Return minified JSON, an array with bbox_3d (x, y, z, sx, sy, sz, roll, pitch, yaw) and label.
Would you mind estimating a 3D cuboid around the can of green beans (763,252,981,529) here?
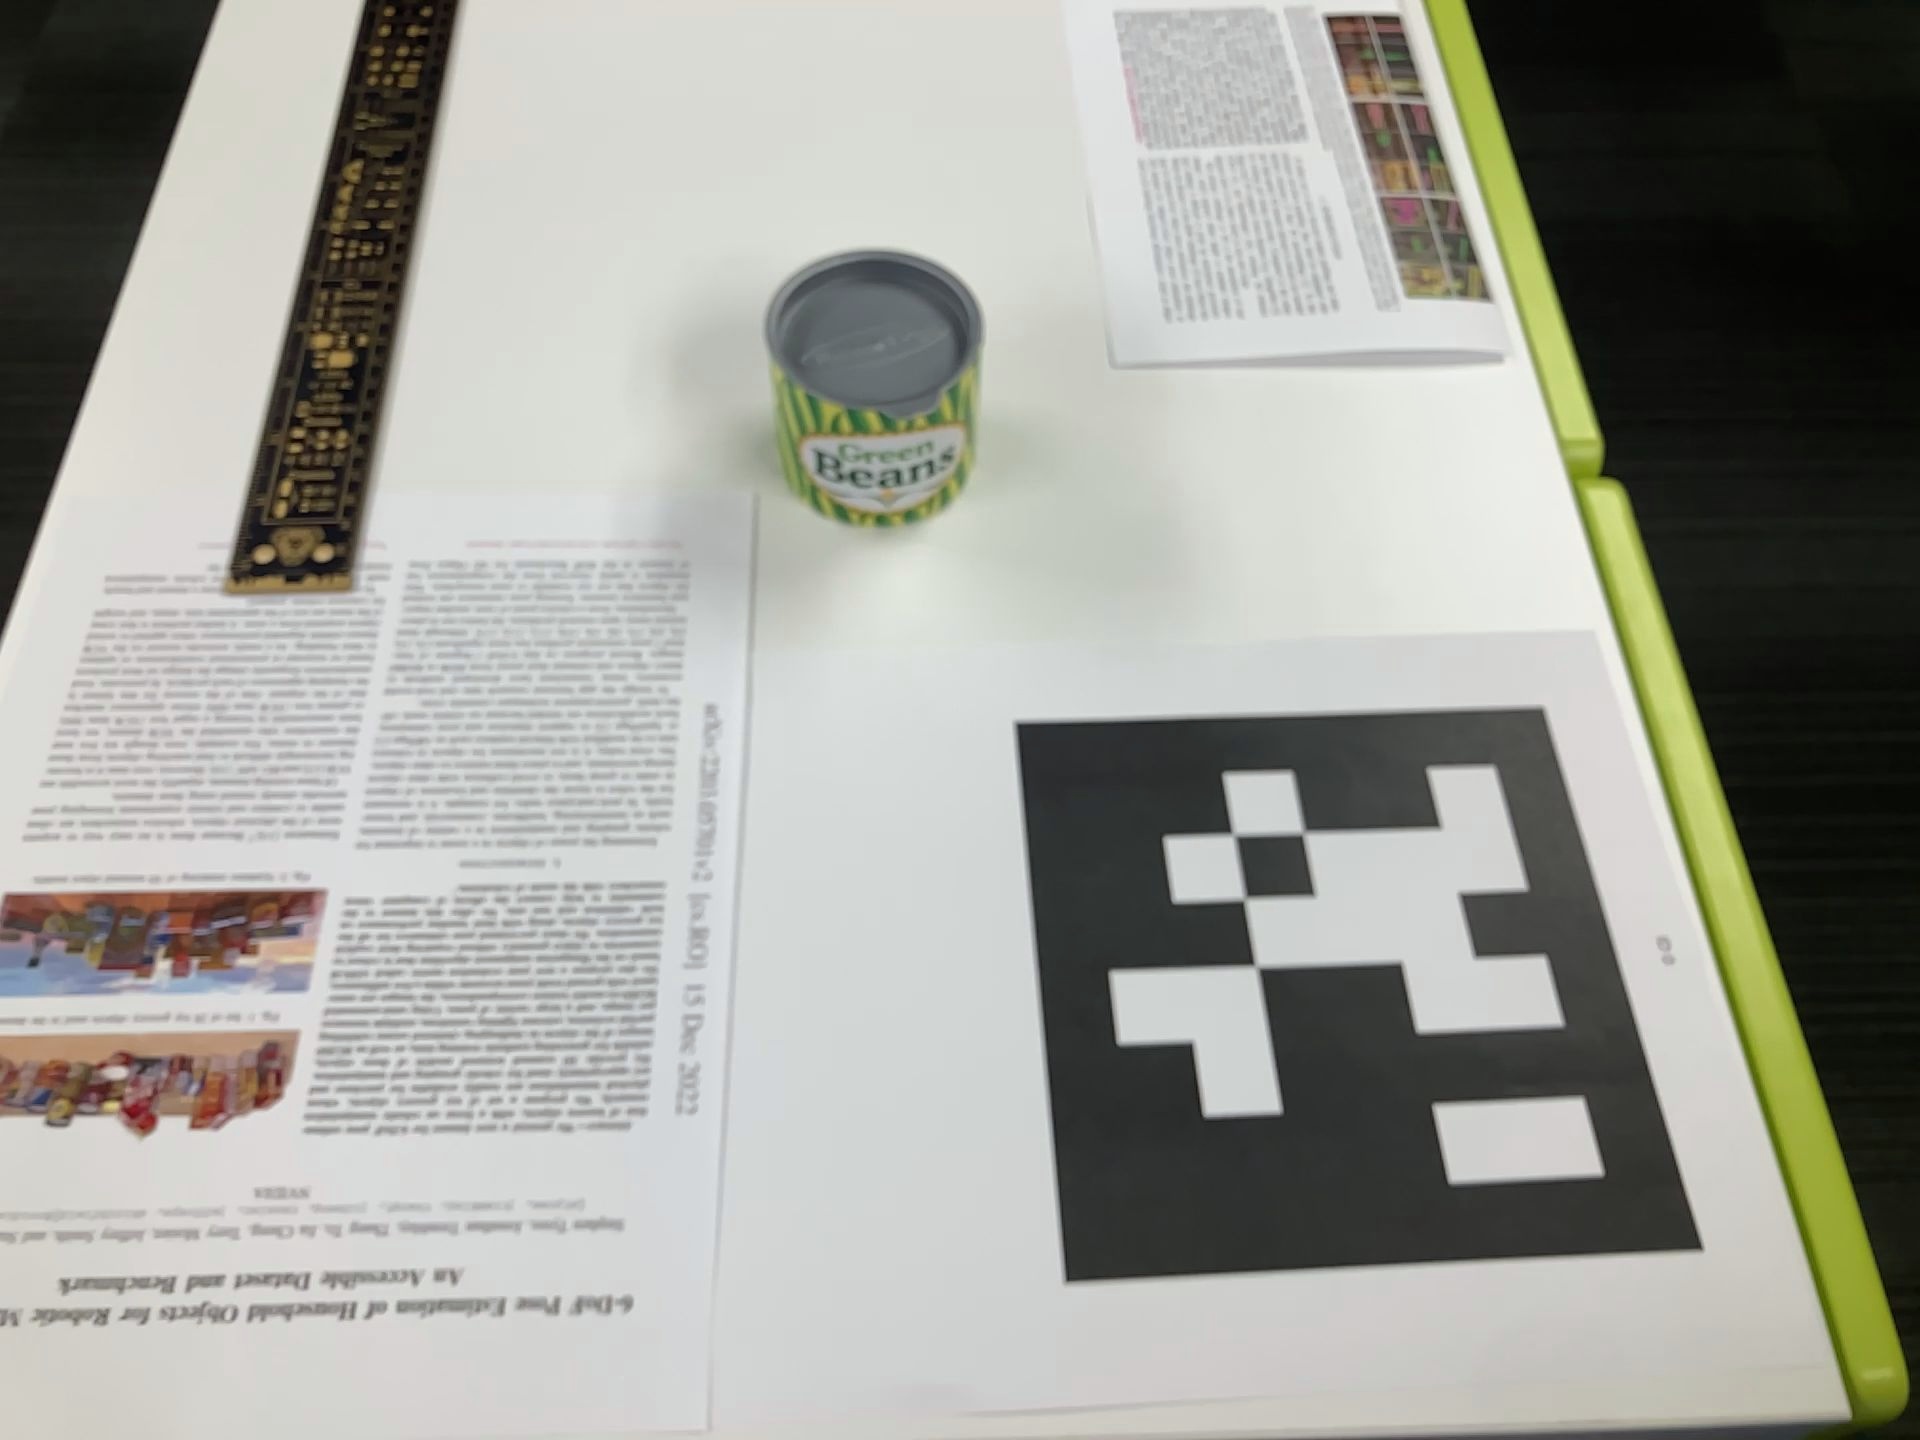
[{"bbox_3d":[-0.027,-0.104,0.509,0.071,0.058,0.071,1,58,-1],"label":"can of green beans"}]
